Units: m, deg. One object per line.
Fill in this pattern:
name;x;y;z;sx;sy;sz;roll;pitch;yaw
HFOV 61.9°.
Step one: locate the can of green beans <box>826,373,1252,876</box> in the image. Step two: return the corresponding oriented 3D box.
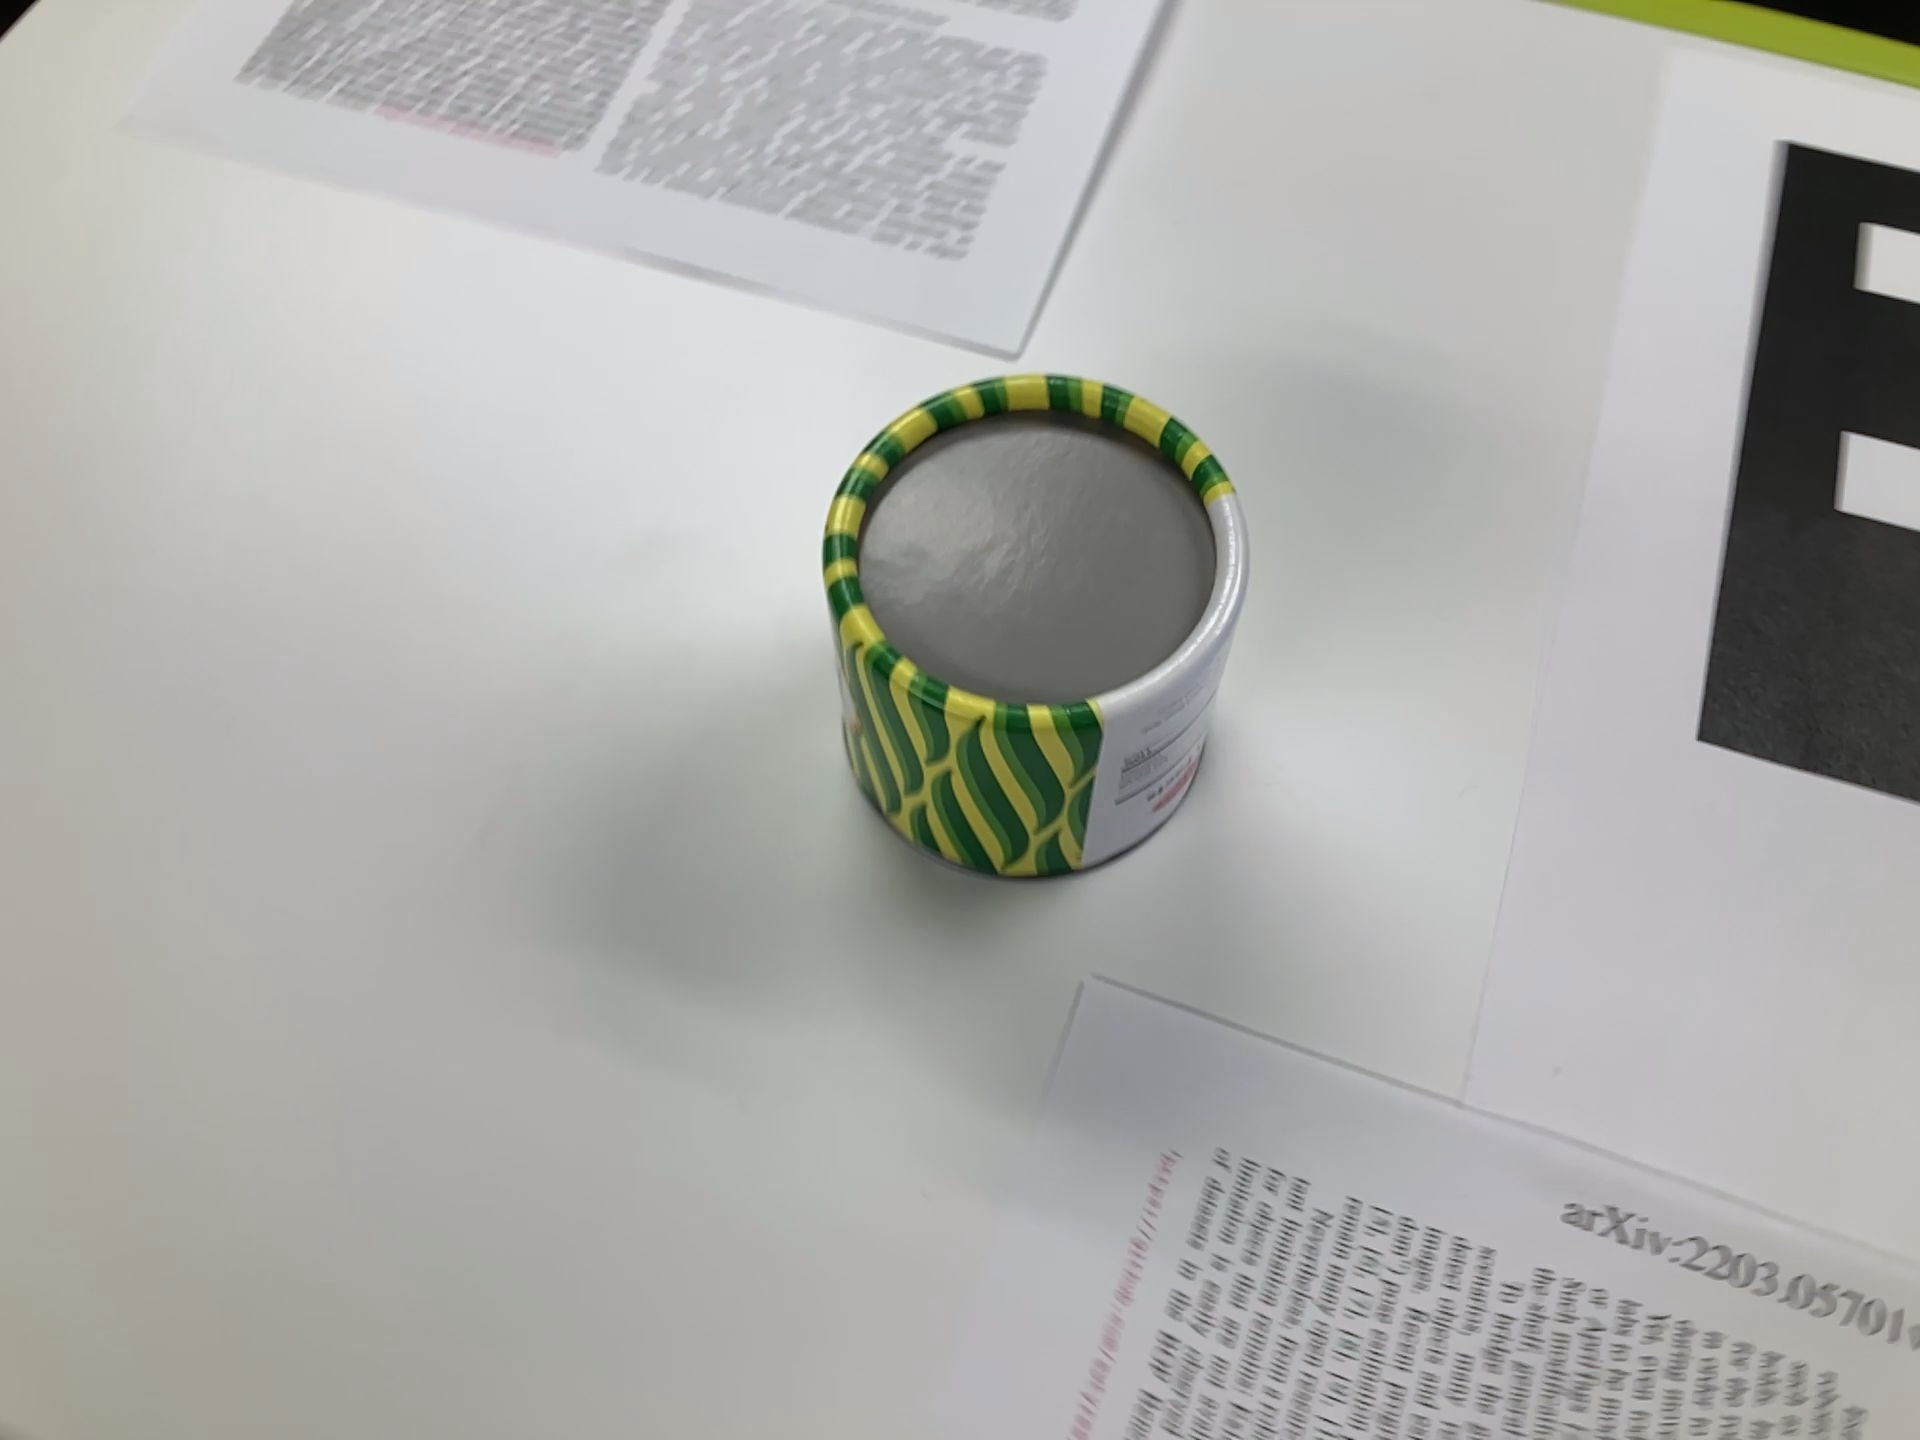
can of green beans;0.012;-0.015;0.270;0.071;0.058;0.071;0;62;0
